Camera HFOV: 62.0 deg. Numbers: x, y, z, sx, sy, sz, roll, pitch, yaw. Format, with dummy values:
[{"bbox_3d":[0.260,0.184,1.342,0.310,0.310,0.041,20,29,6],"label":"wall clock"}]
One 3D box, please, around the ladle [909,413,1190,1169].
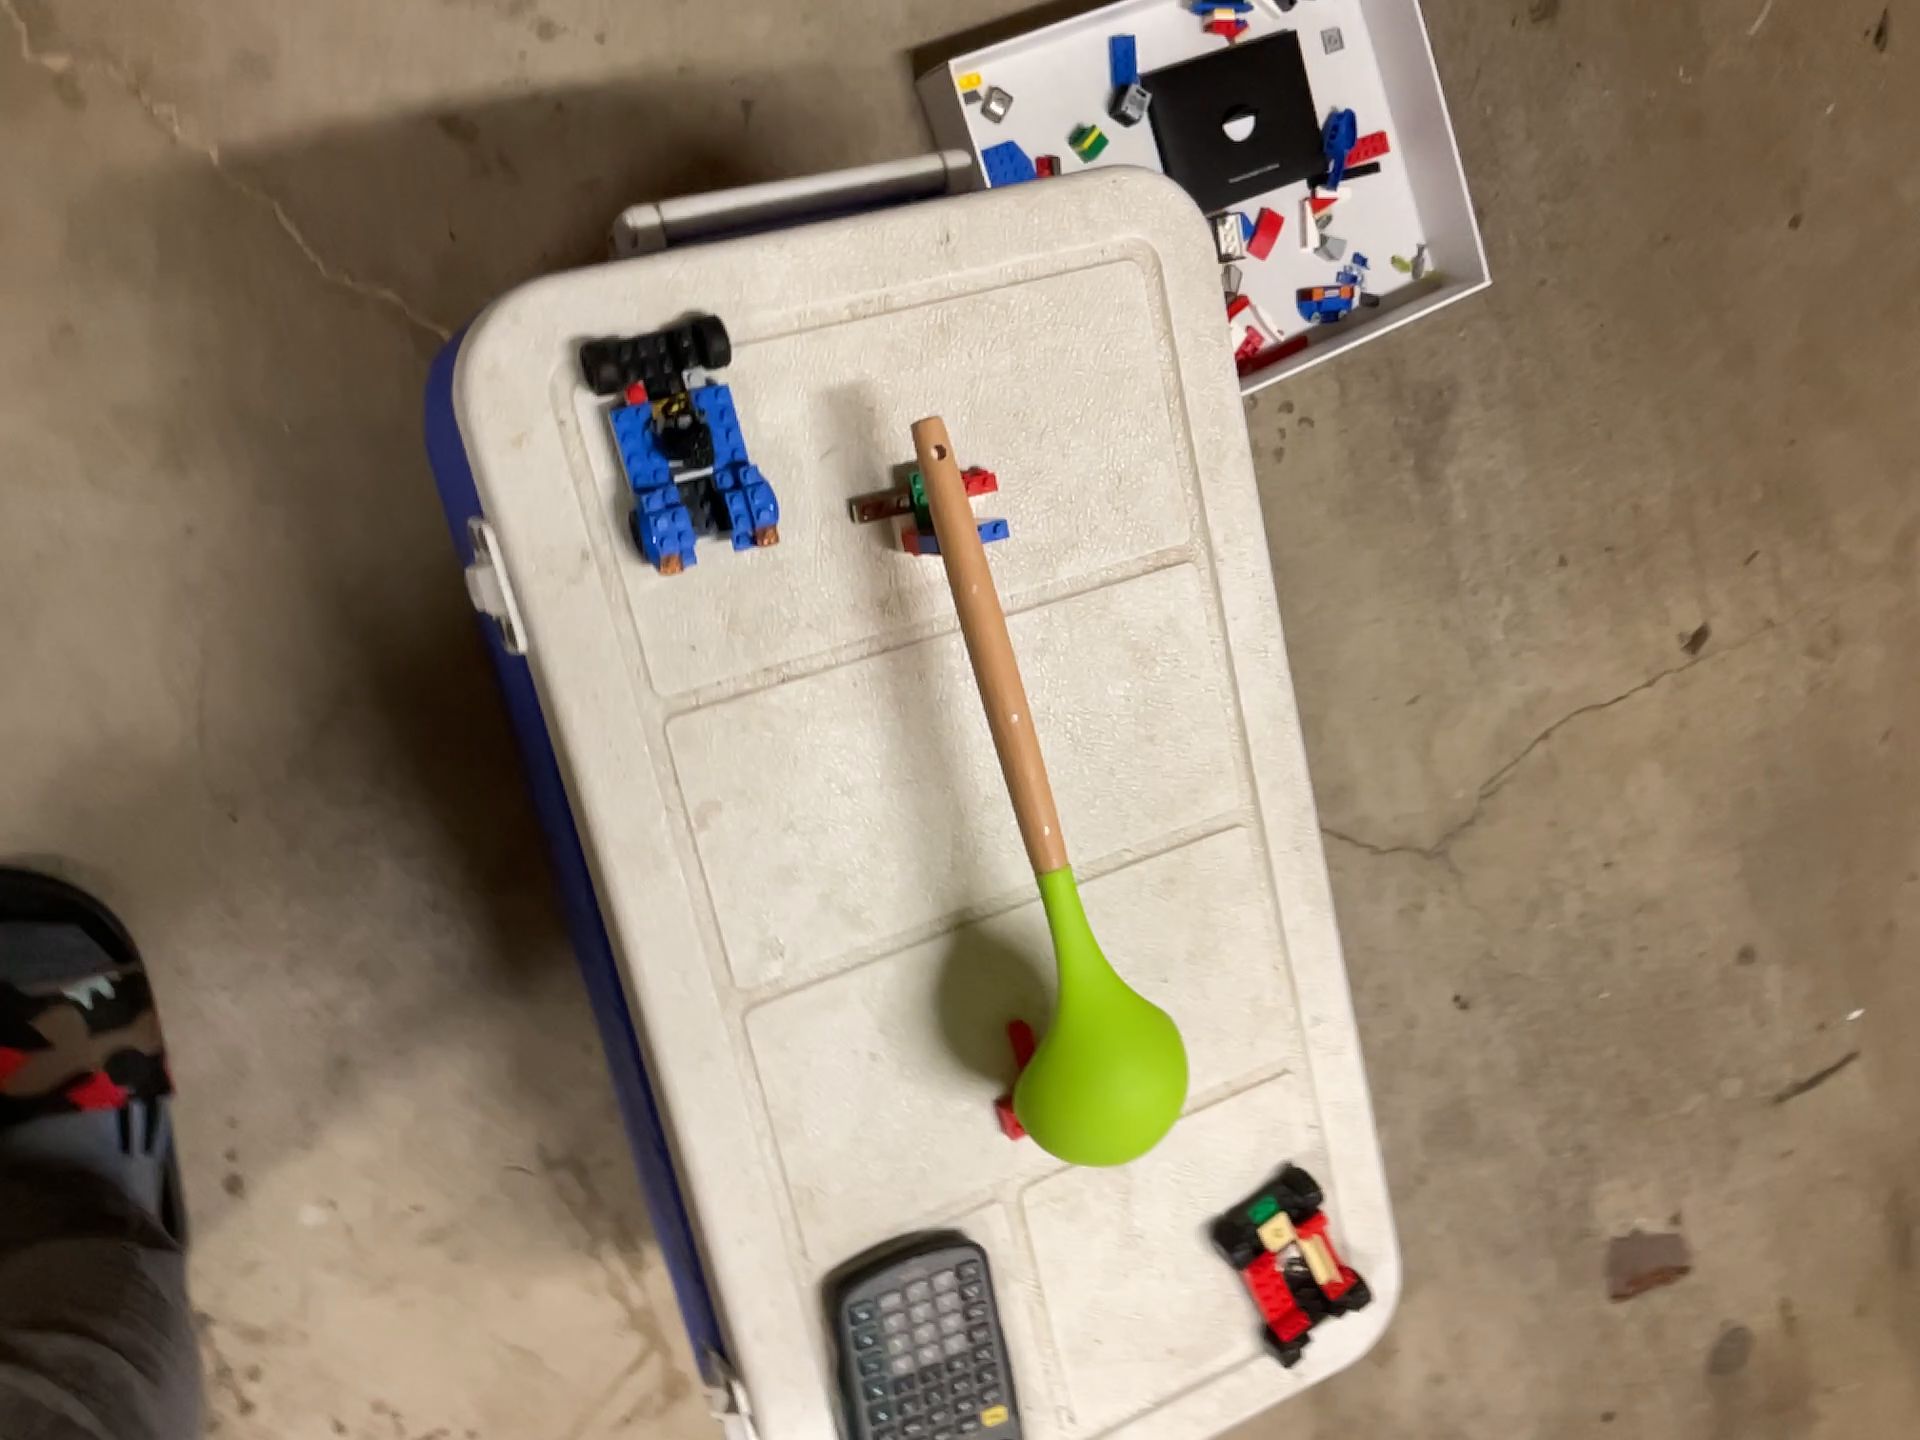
[{"bbox_3d":[0.026,0.034,0.650,0.078,0.062,0.320,-18,98,-14],"label":"ladle"}]
